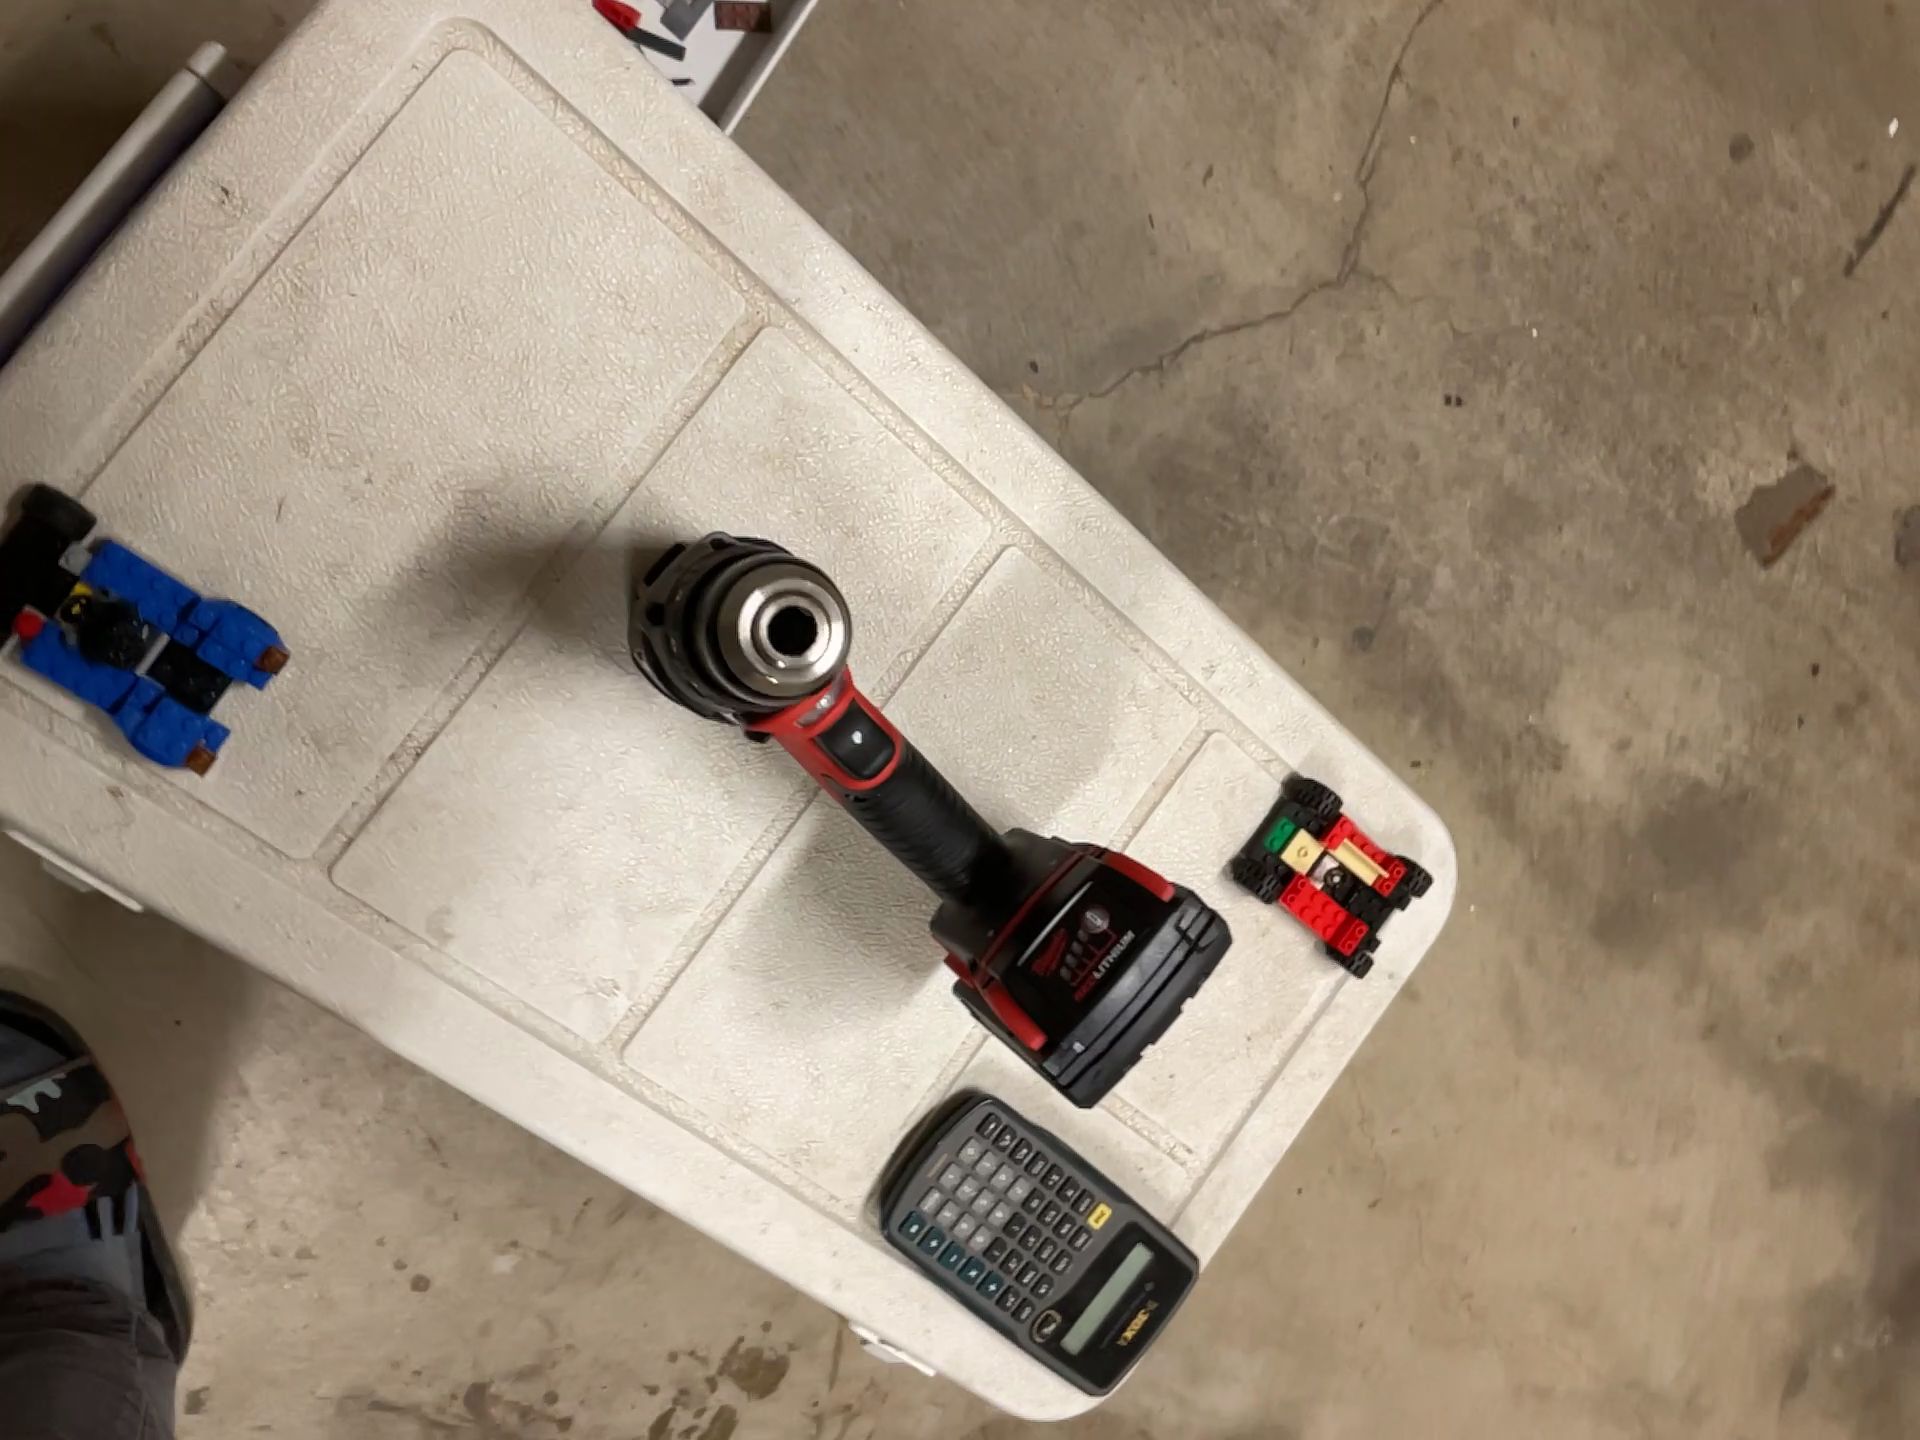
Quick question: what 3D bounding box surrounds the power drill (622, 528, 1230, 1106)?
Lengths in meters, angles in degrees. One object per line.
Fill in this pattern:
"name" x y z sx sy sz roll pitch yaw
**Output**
"power drill" -0.017 0.024 0.533 0.226 0.188 0.080 44 81 -14
